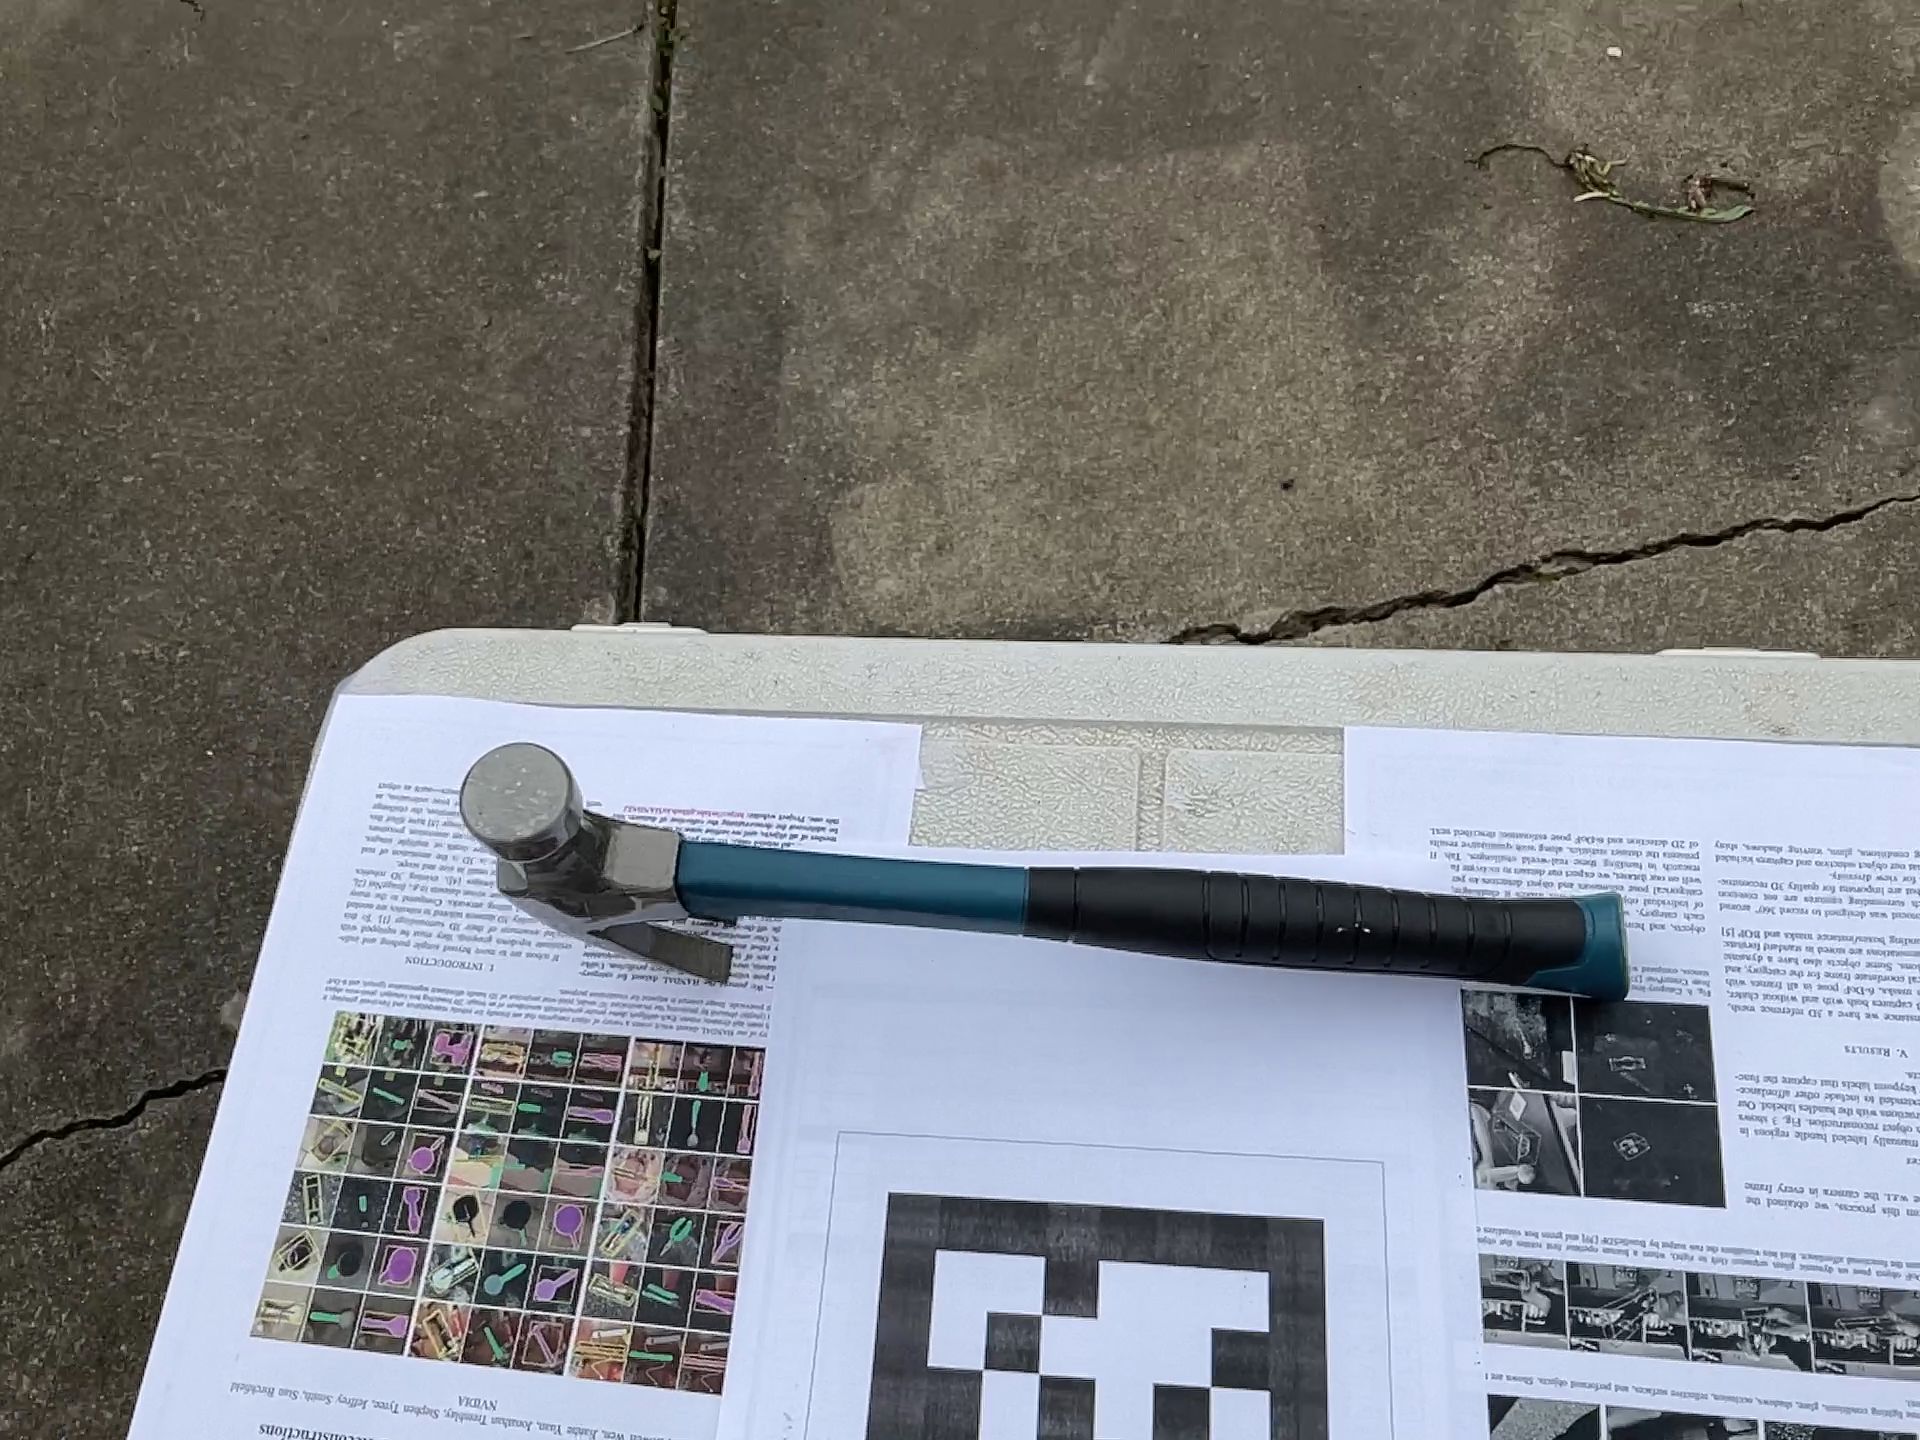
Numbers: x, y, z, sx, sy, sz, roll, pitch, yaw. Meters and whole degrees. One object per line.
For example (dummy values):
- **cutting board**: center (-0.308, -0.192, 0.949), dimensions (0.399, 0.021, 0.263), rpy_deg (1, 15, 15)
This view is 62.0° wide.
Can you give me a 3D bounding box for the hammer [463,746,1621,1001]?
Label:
- **hammer**: center (0.033, 0.055, 0.474), dimensions (0.331, 0.128, 0.033), rpy_deg (4, 67, 0)
